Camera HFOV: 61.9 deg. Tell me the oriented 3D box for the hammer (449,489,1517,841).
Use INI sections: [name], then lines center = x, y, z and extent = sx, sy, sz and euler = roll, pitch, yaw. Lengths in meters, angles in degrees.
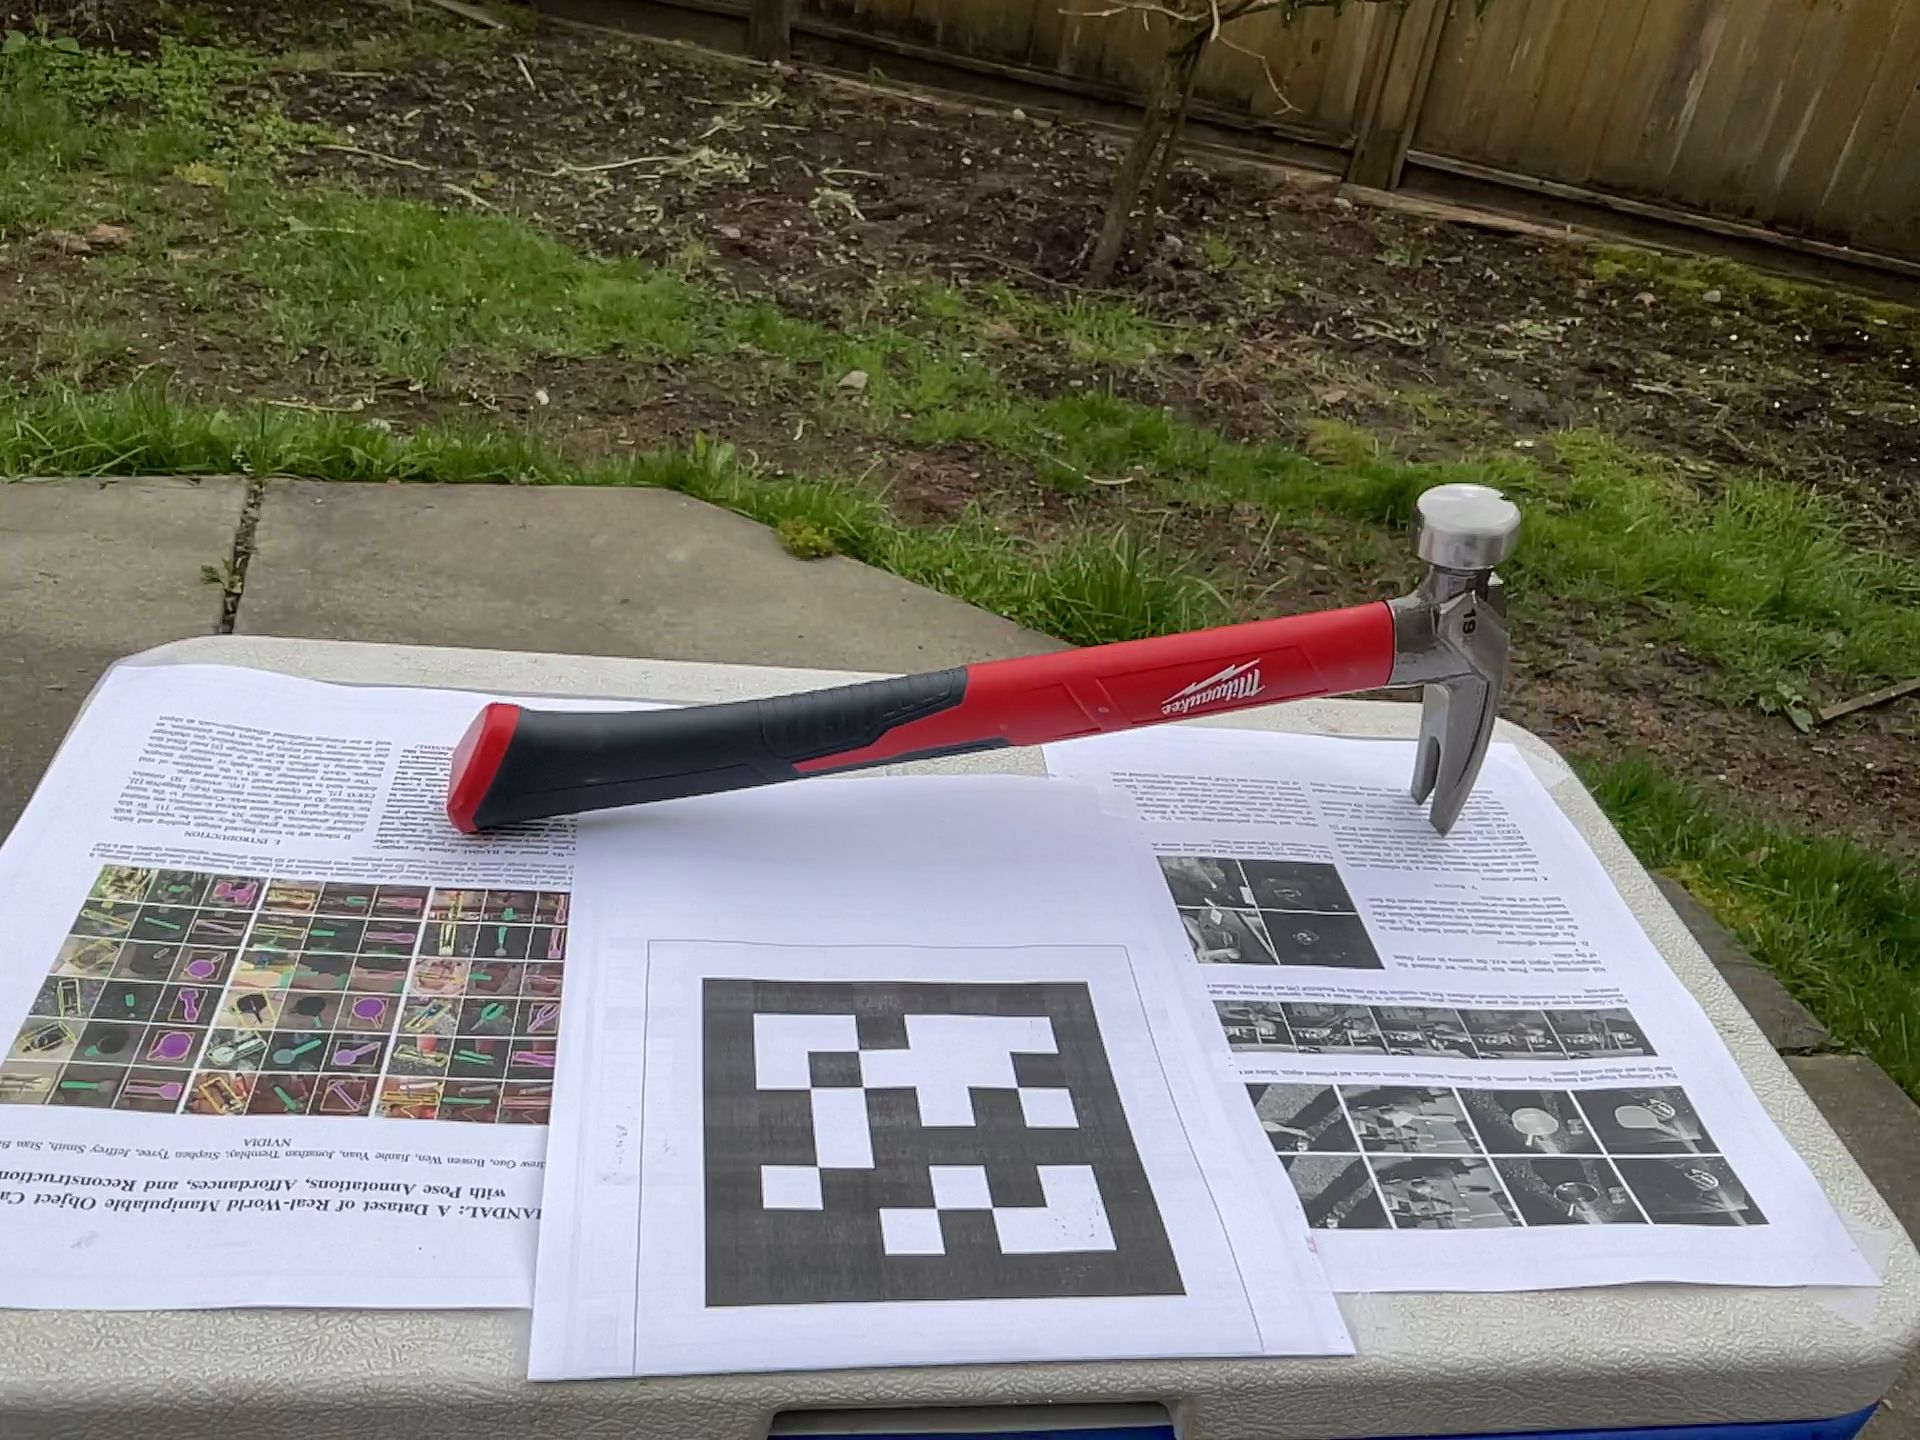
[hammer]
center = 0.013, 0.009, 0.591
extent = 0.386, 0.143, 0.038
euler = -9, 35, -8
